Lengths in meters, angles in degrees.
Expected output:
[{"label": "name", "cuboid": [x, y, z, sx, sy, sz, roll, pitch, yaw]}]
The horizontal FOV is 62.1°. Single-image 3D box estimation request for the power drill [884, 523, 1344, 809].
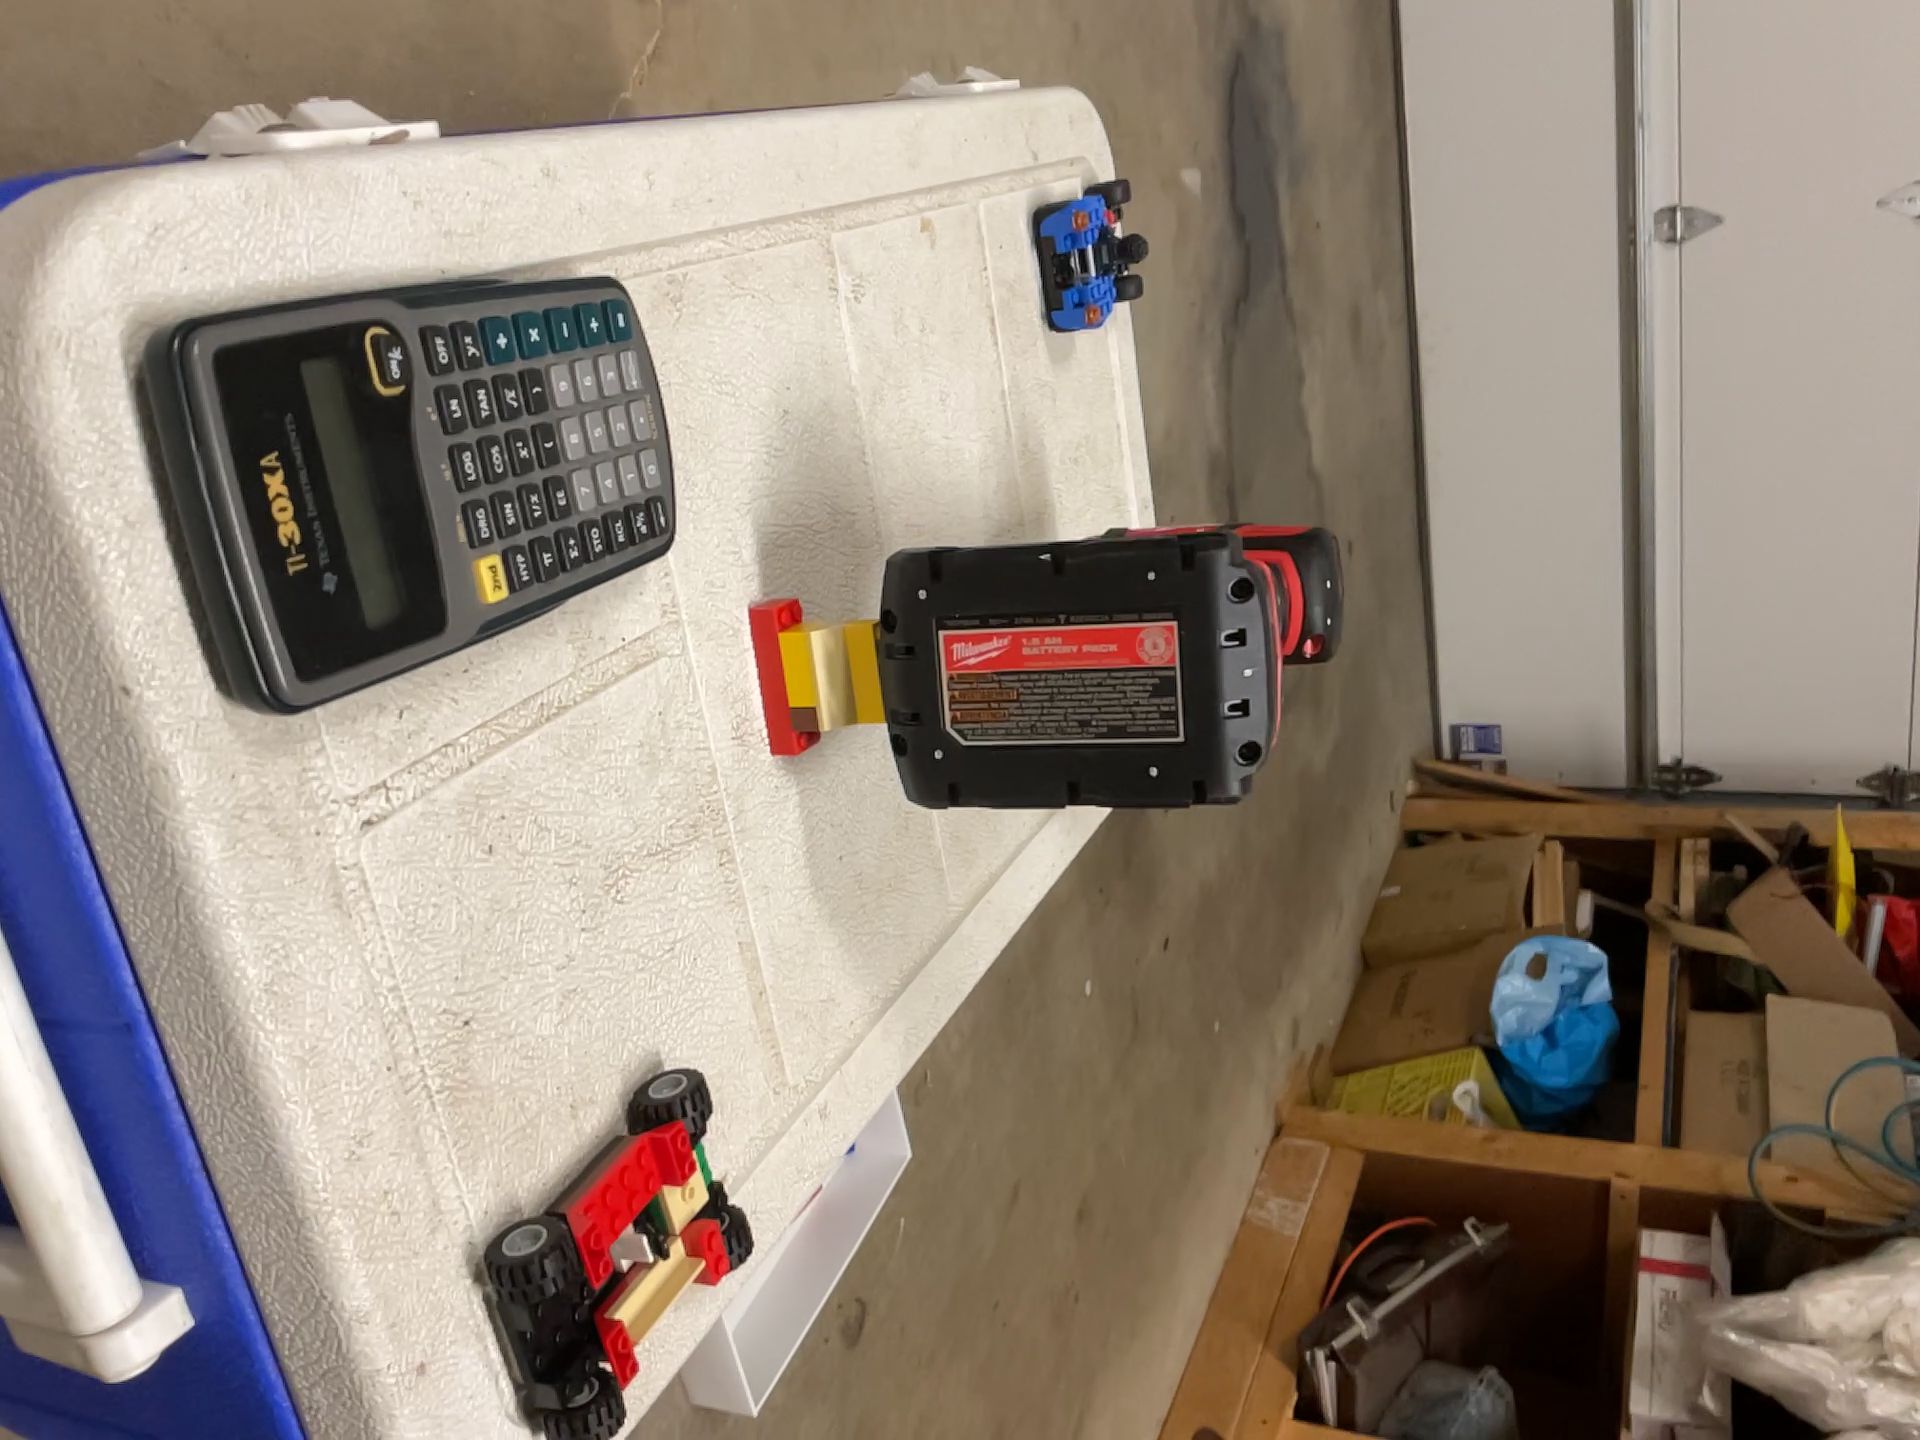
[{"label": "power drill", "cuboid": [0.056, -0.032, 0.567, 0.220, 0.143, 0.078, -33, 120, -69]}]
